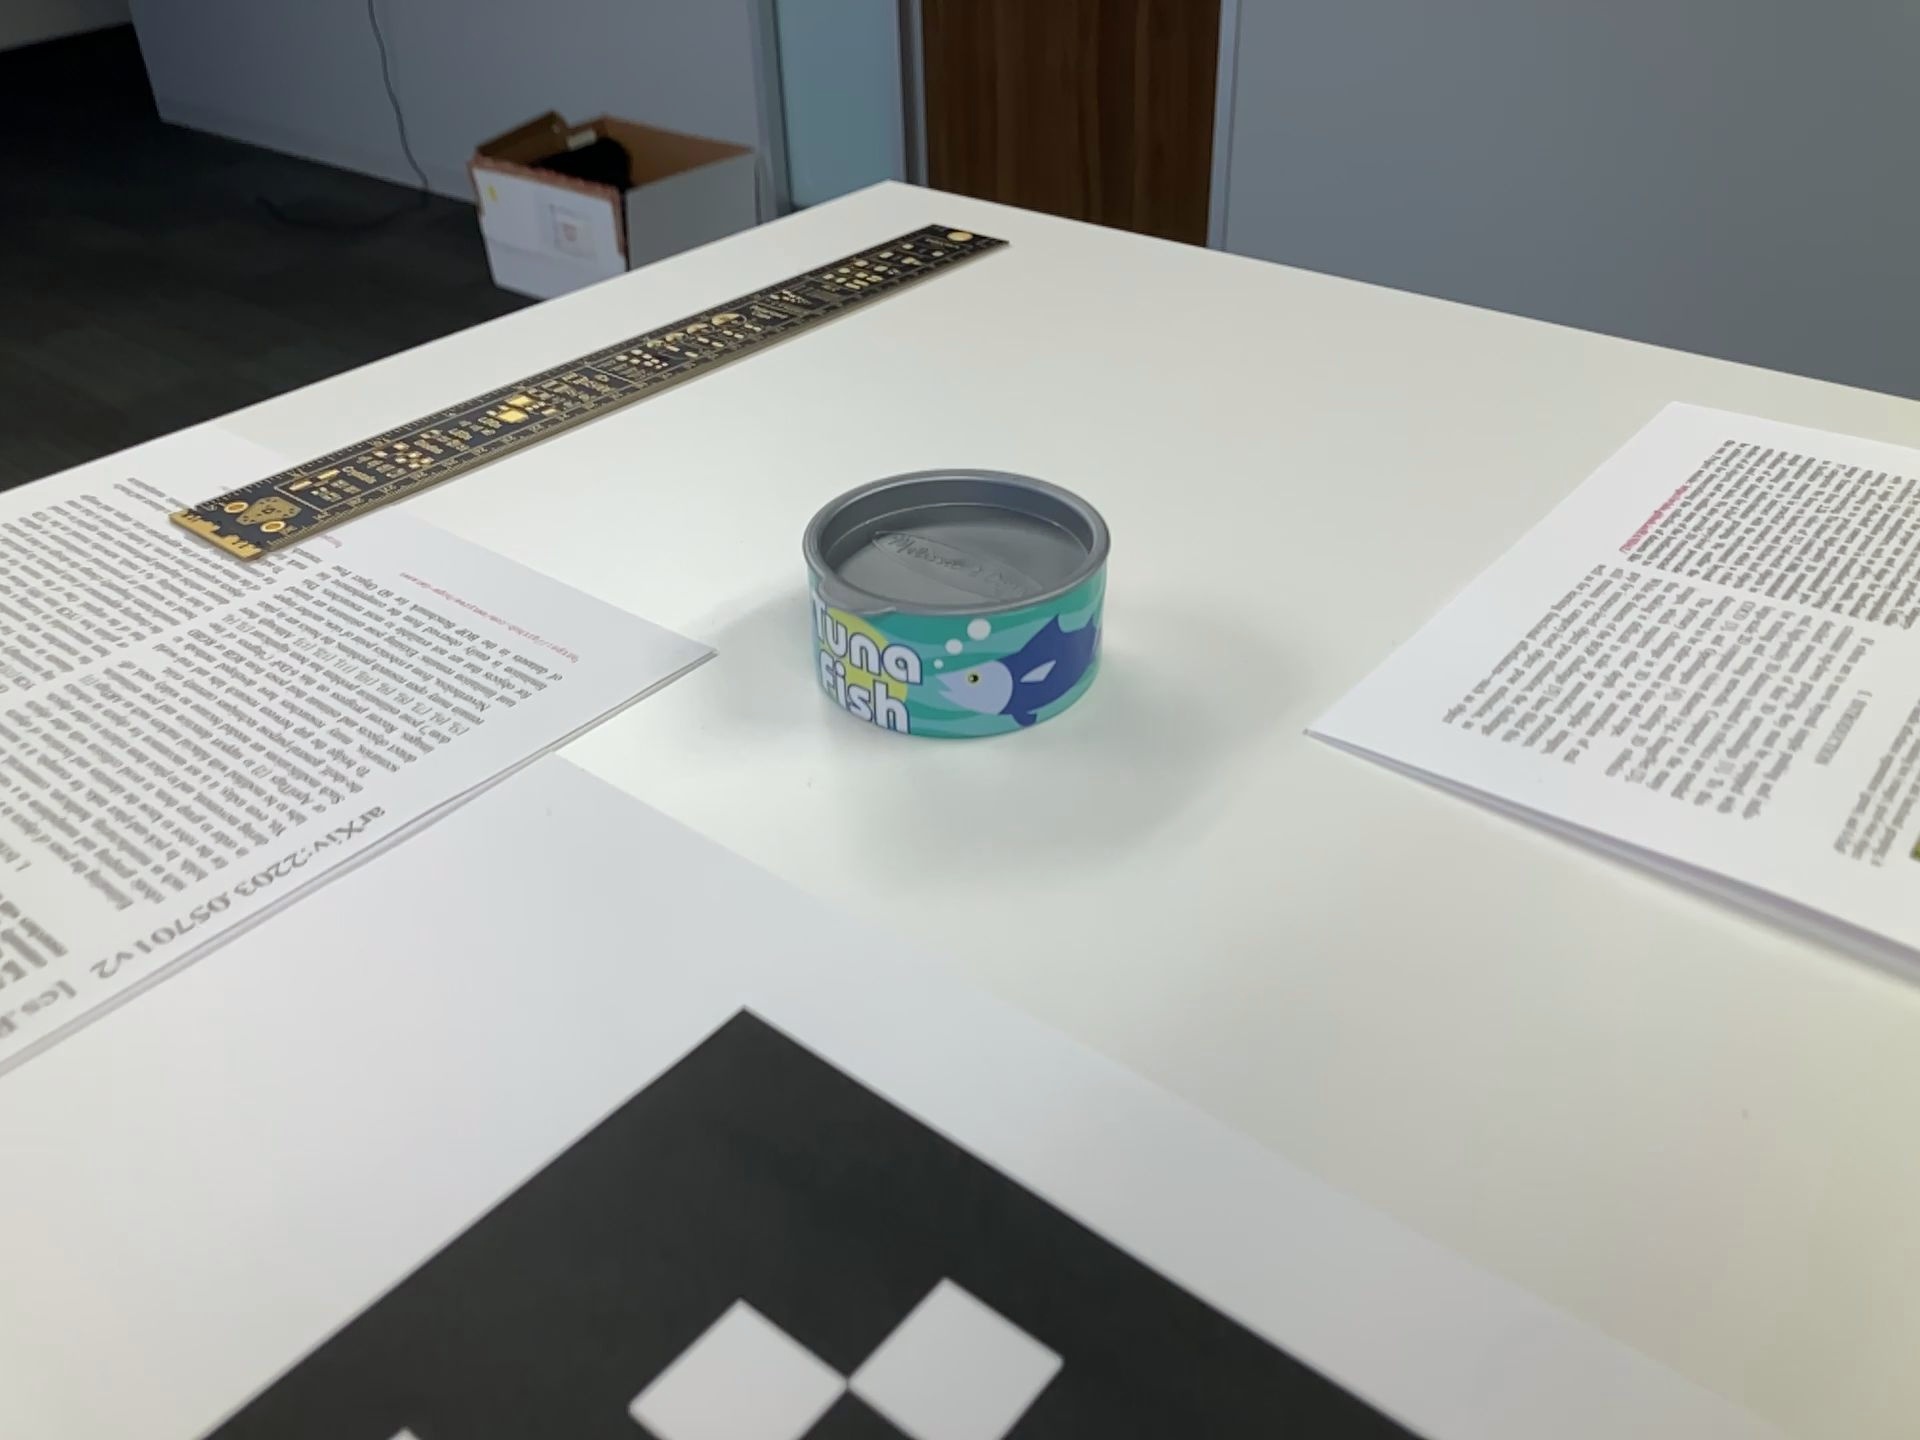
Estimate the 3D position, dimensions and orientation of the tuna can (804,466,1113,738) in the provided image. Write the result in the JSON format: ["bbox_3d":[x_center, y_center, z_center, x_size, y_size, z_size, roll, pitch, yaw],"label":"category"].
[{"bbox_3d":[-0.002,-0.026,0.347,0.071,0.033,0.071,0,35,0],"label":"tuna can"}]
